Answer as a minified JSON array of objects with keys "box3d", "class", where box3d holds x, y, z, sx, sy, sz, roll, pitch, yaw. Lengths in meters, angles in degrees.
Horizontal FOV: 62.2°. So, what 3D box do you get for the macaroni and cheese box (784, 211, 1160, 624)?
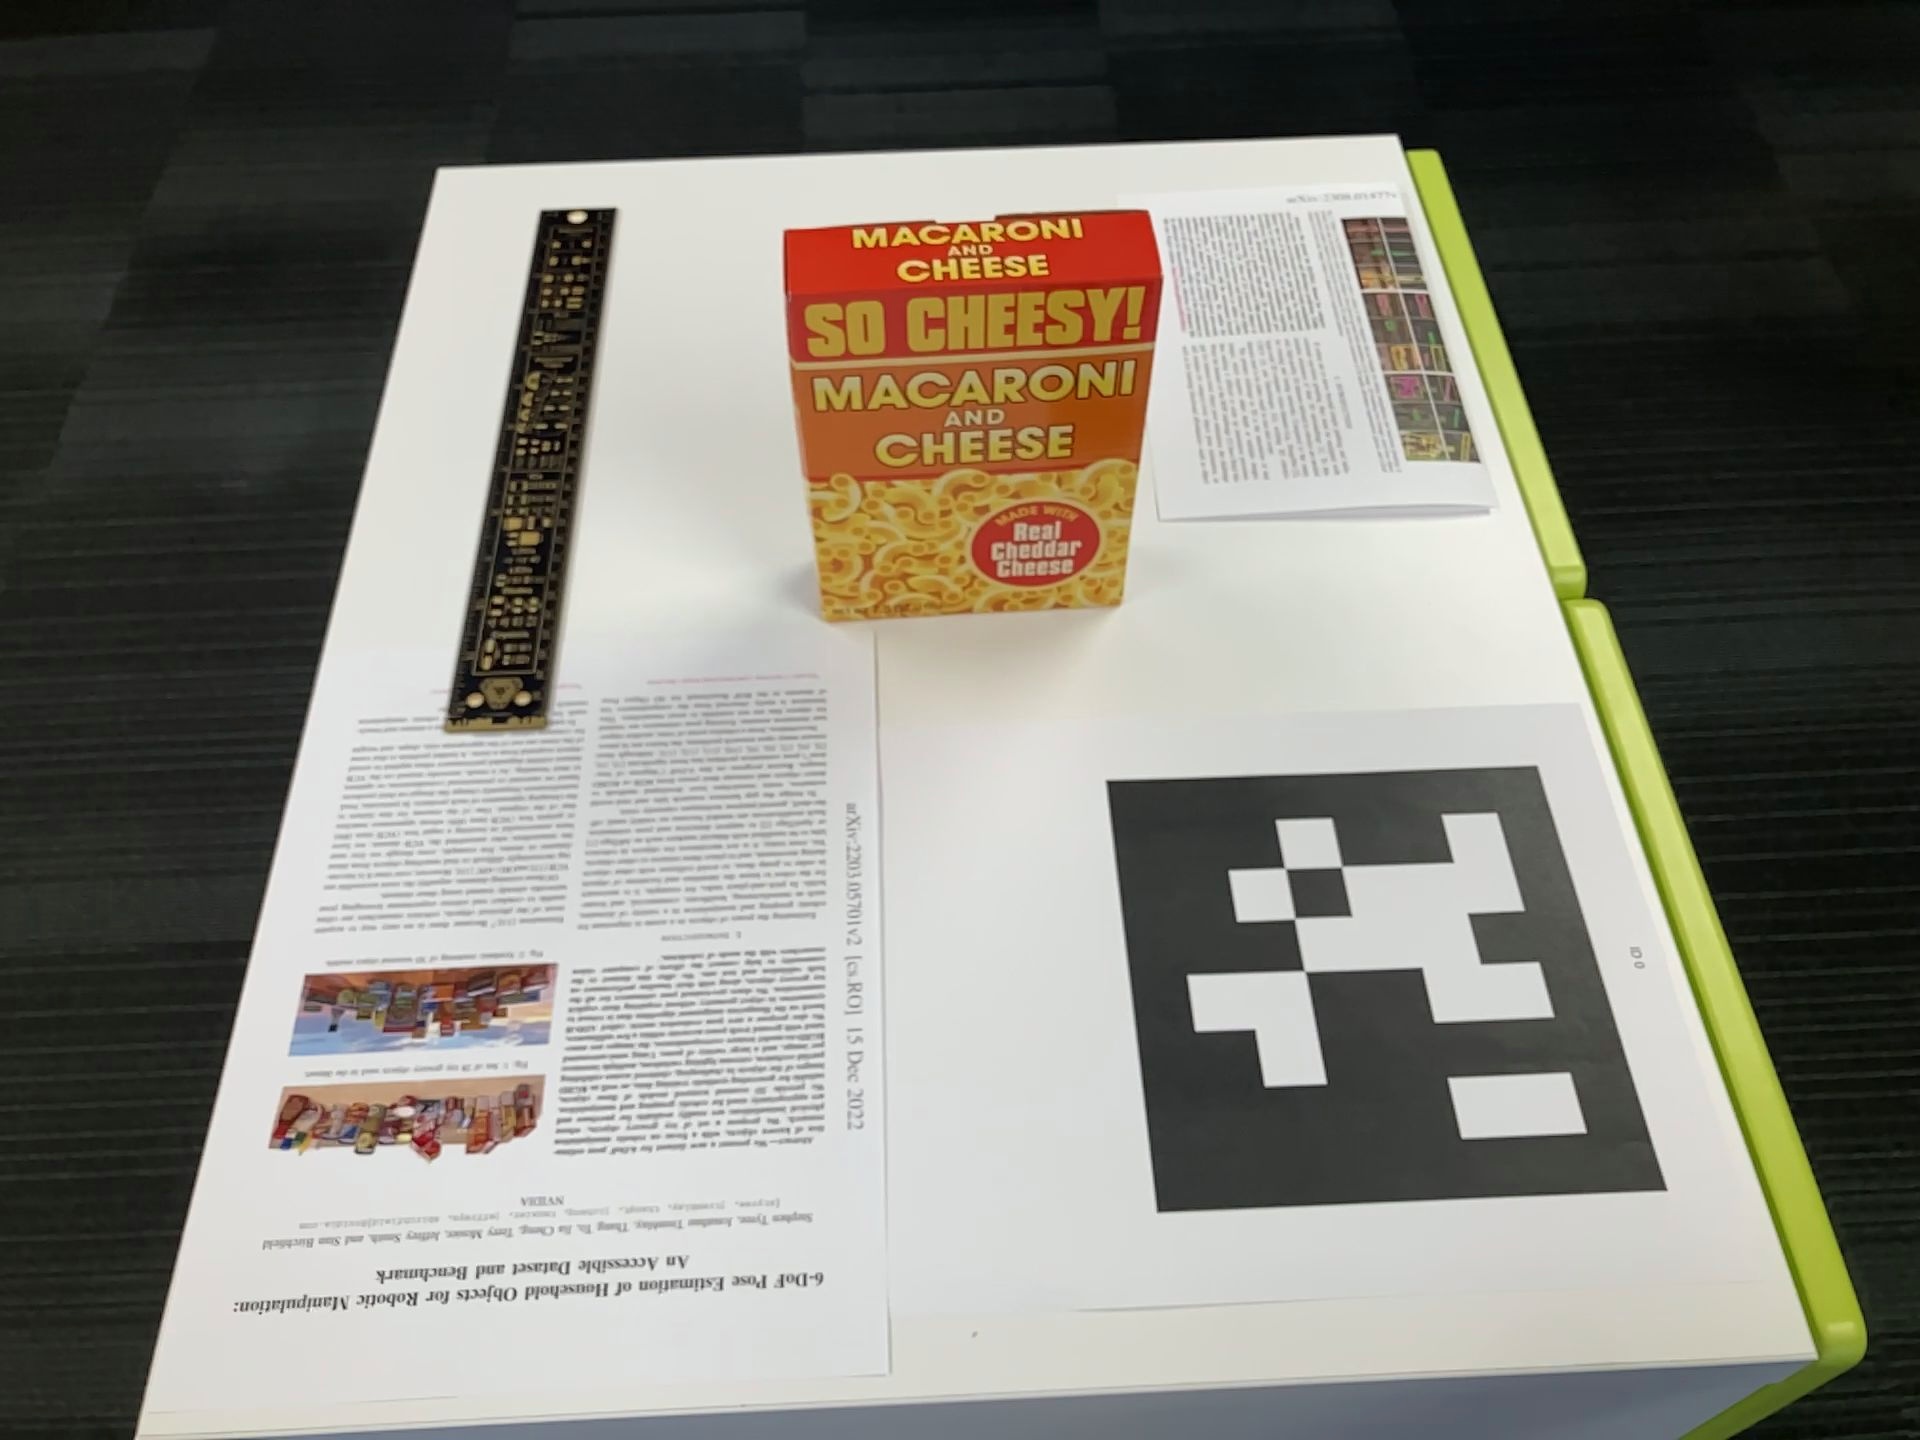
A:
[{"box3d":[0.003,-0.106,0.588,0.124,0.166,0.040,-5,54,-3],"class":"macaroni and cheese box"}]
